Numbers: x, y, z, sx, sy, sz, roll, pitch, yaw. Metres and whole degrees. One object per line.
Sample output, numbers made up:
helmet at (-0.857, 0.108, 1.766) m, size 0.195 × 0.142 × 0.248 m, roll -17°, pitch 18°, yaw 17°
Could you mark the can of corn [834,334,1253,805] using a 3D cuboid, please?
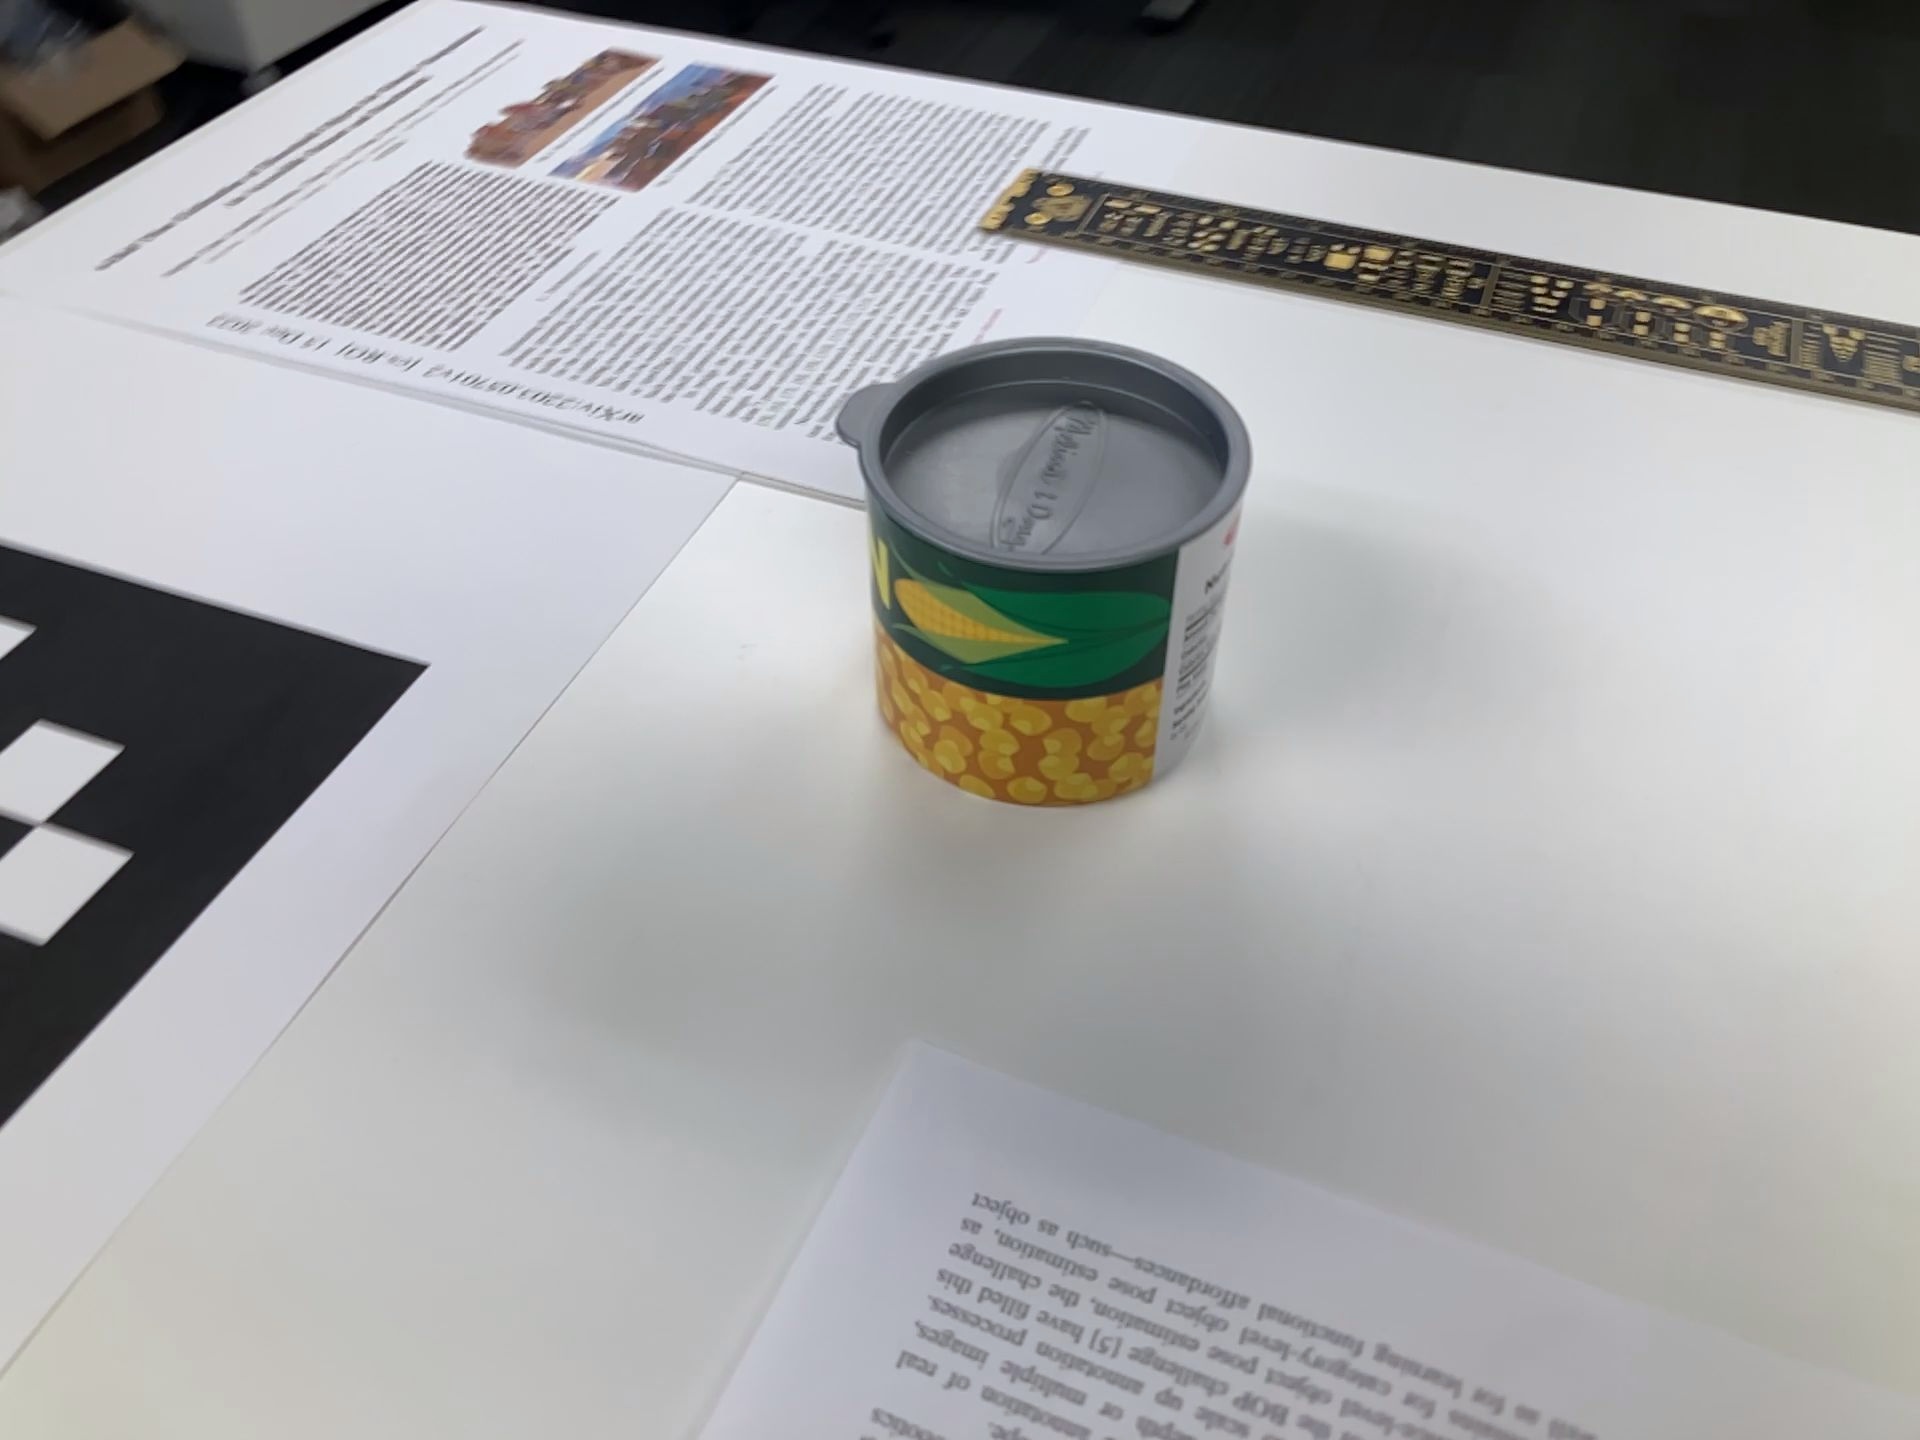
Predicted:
can of corn at (0.014, -0.028, 0.287) m, size 0.071 × 0.058 × 0.071 m, roll 0°, pitch 44°, yaw 0°
